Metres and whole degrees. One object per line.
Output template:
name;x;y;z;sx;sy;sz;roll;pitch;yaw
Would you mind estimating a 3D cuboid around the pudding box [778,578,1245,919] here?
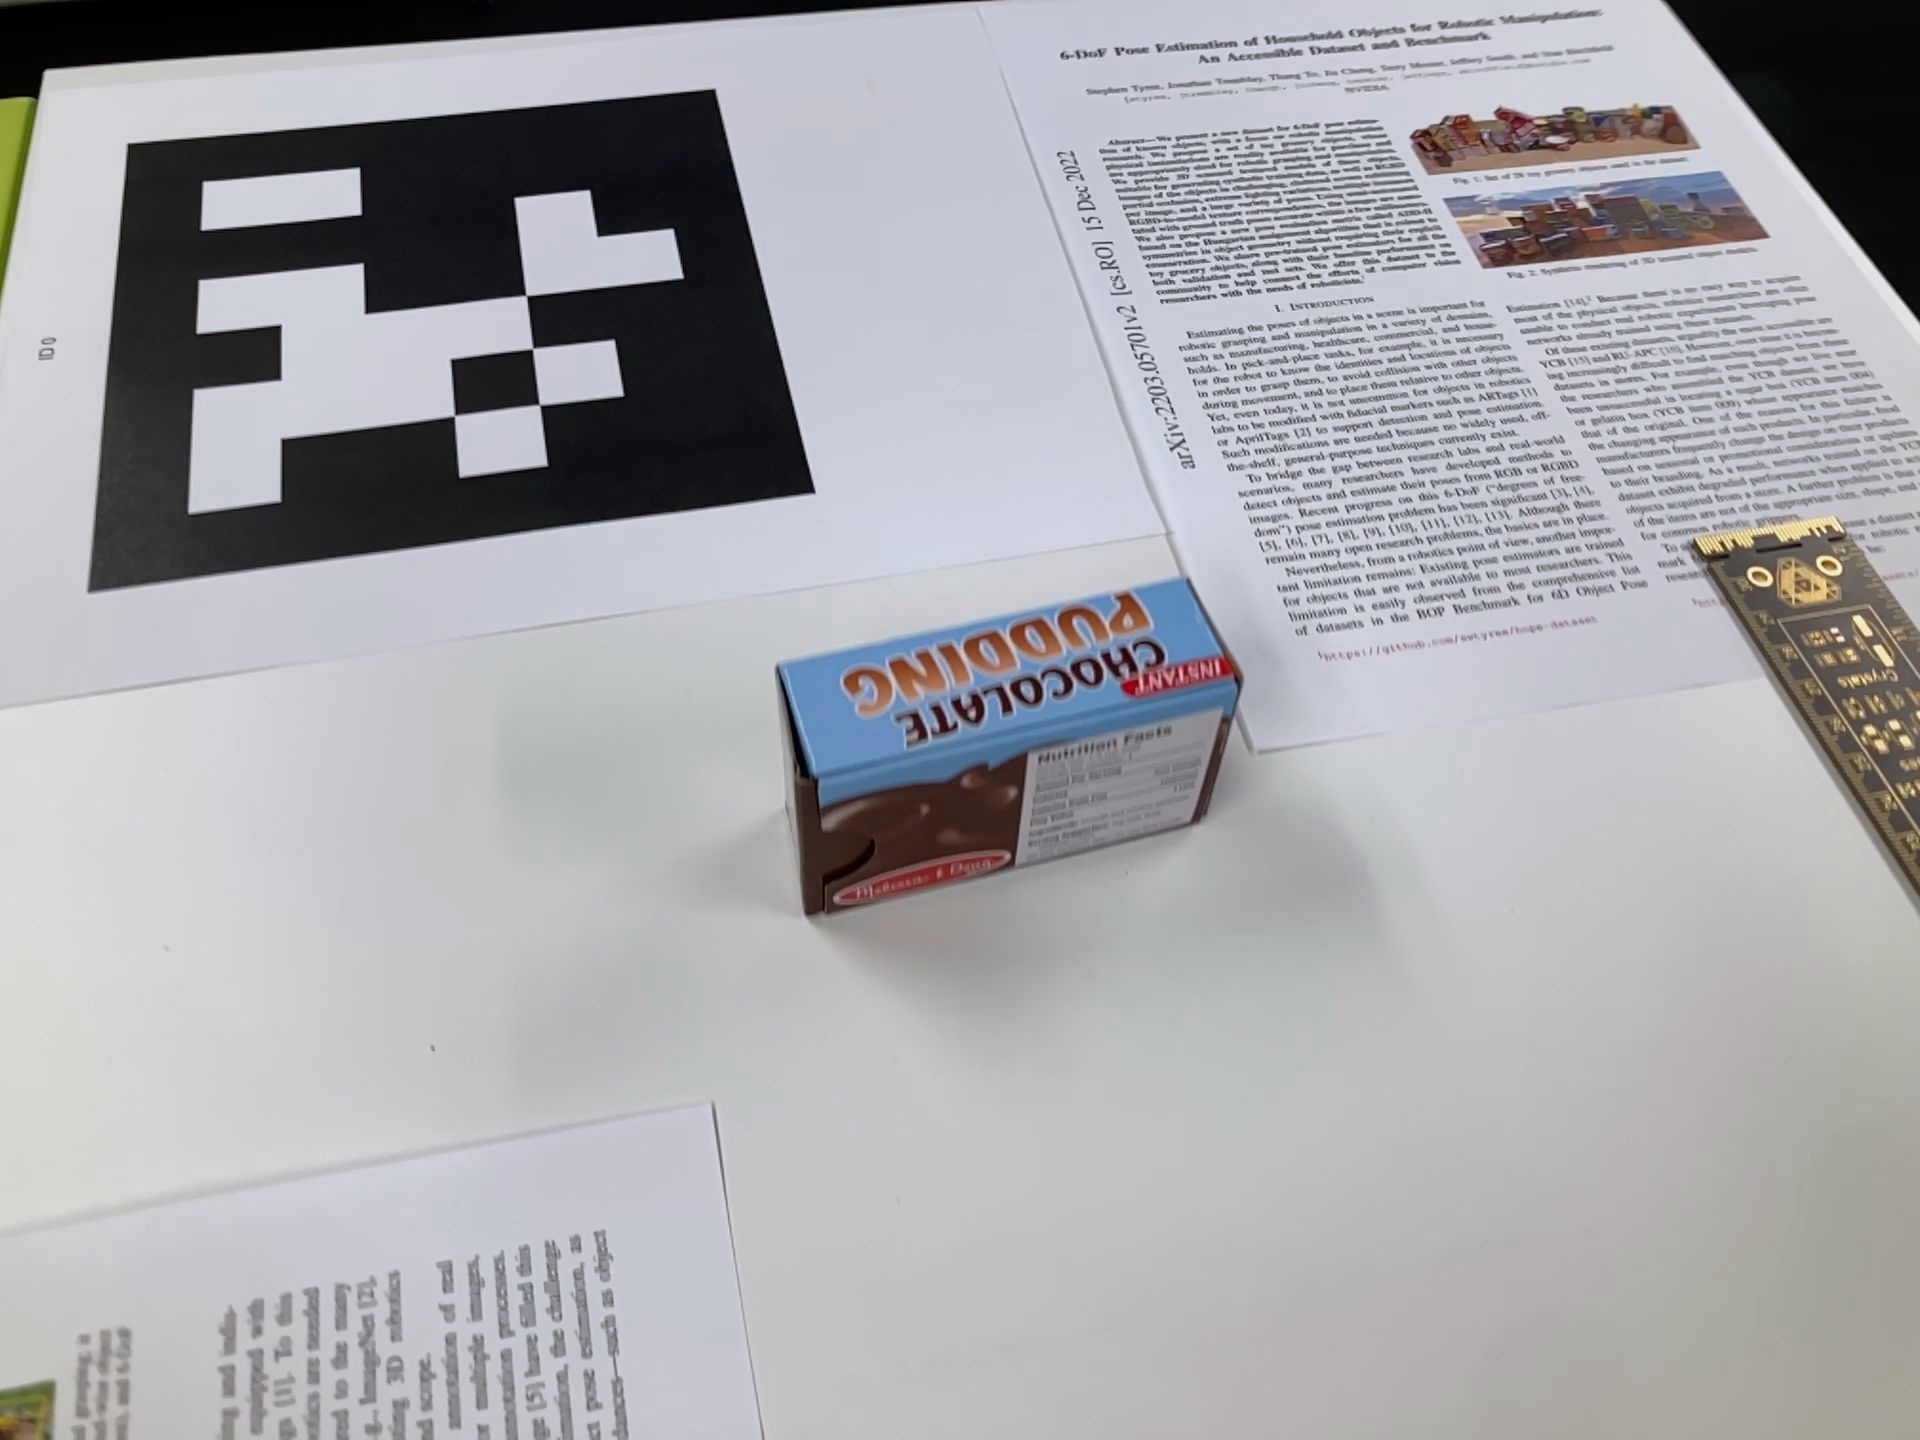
pudding box;0.008;0.006;0.306;0.083;0.049;0.030;-13;55;-11
